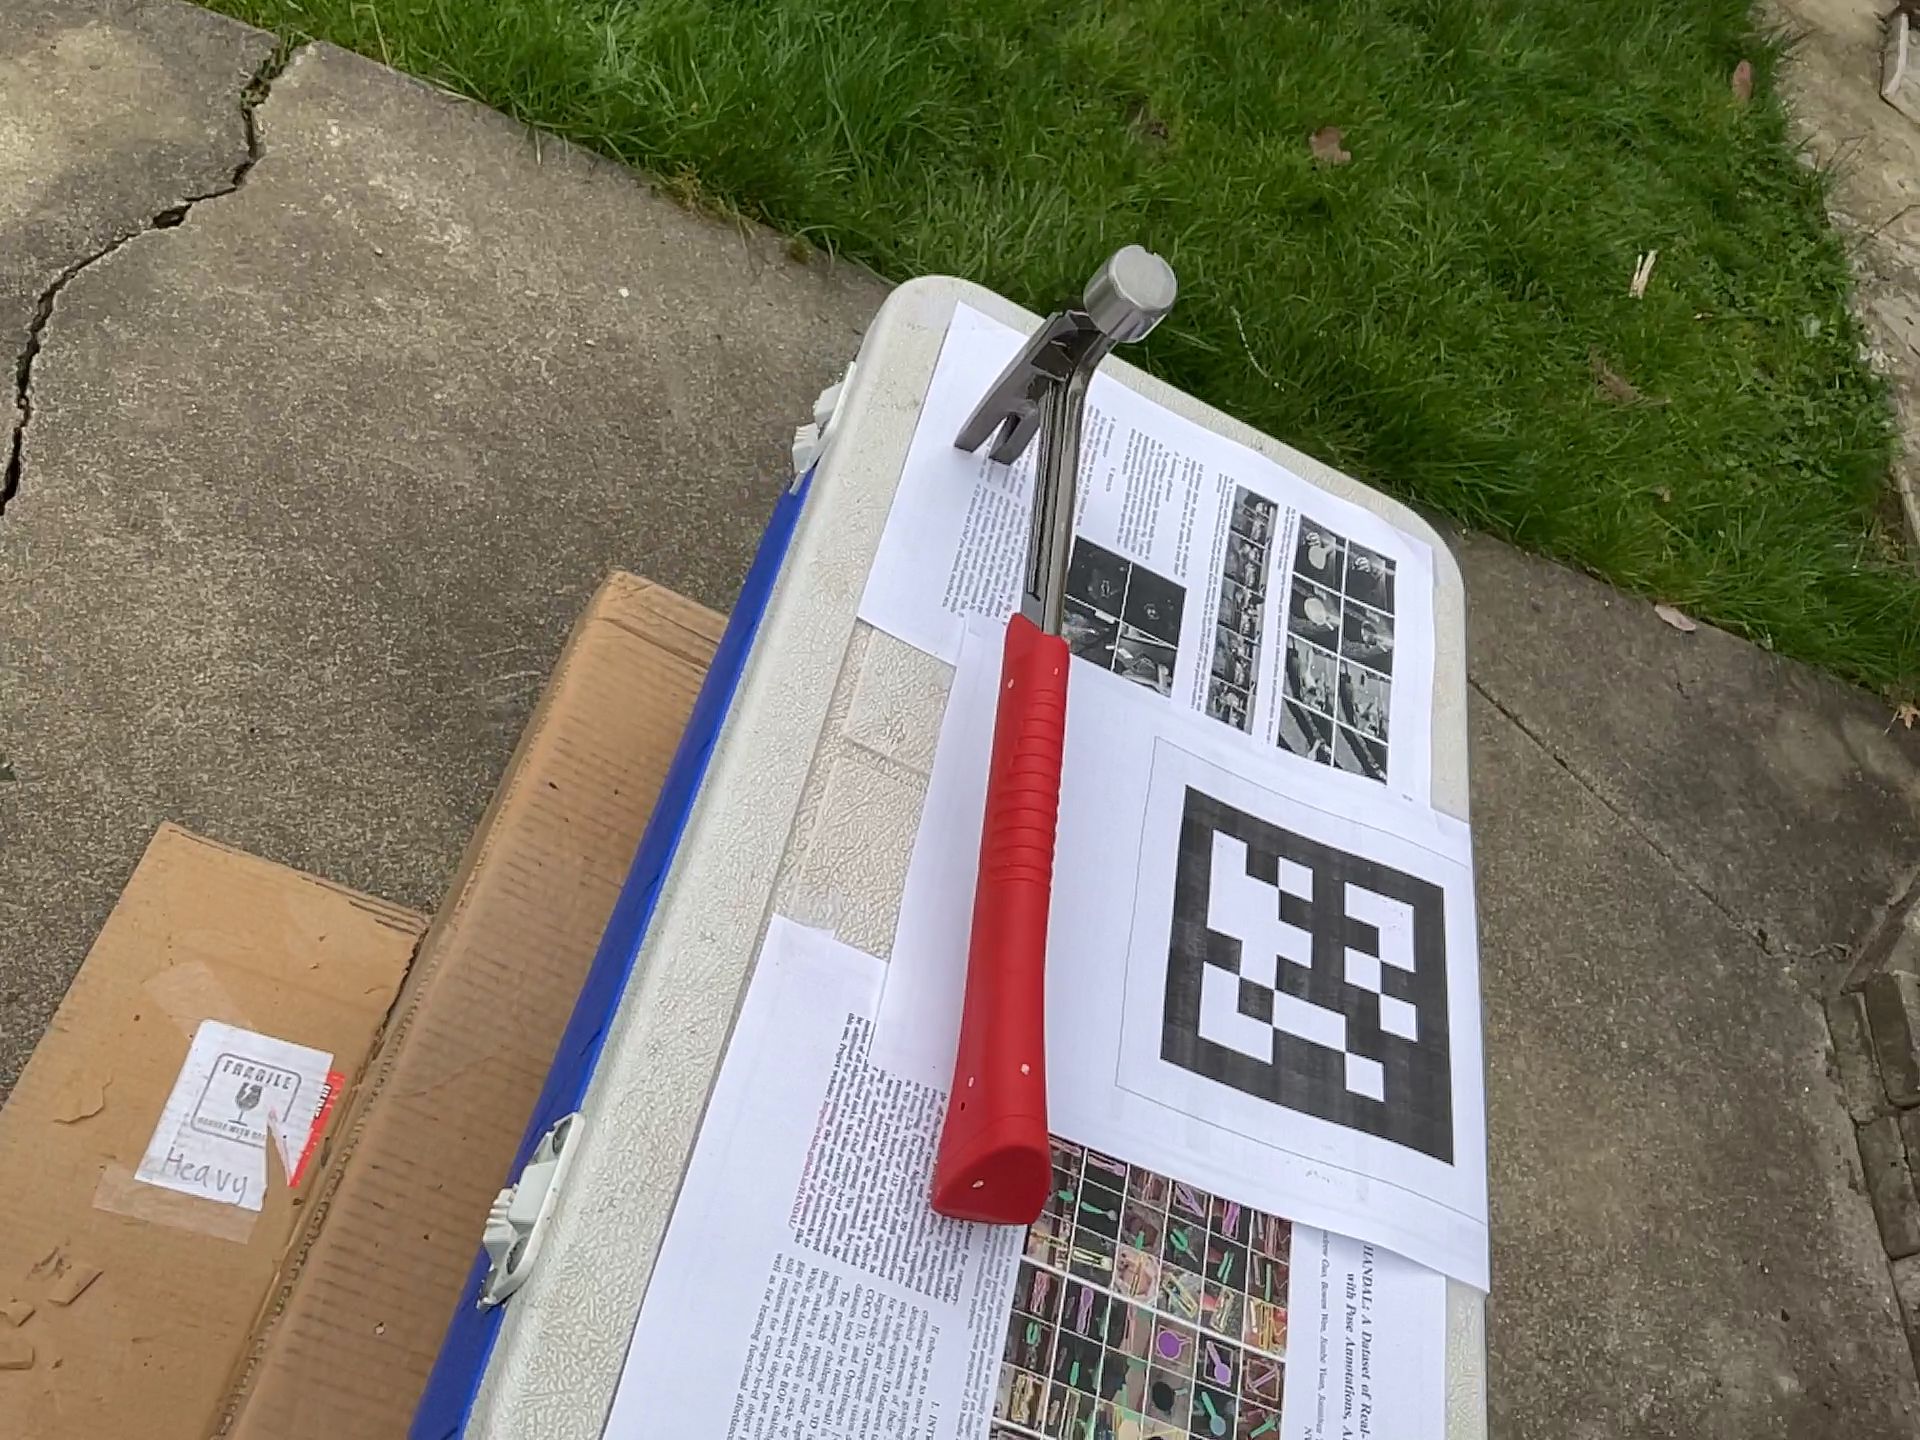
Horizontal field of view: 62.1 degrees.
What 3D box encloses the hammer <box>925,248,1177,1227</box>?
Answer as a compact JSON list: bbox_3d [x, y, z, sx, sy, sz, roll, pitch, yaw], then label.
[{"bbox_3d":[0.021,0.002,0.599,0.036,0.149,0.359,17,63,-20],"label":"hammer"}]
